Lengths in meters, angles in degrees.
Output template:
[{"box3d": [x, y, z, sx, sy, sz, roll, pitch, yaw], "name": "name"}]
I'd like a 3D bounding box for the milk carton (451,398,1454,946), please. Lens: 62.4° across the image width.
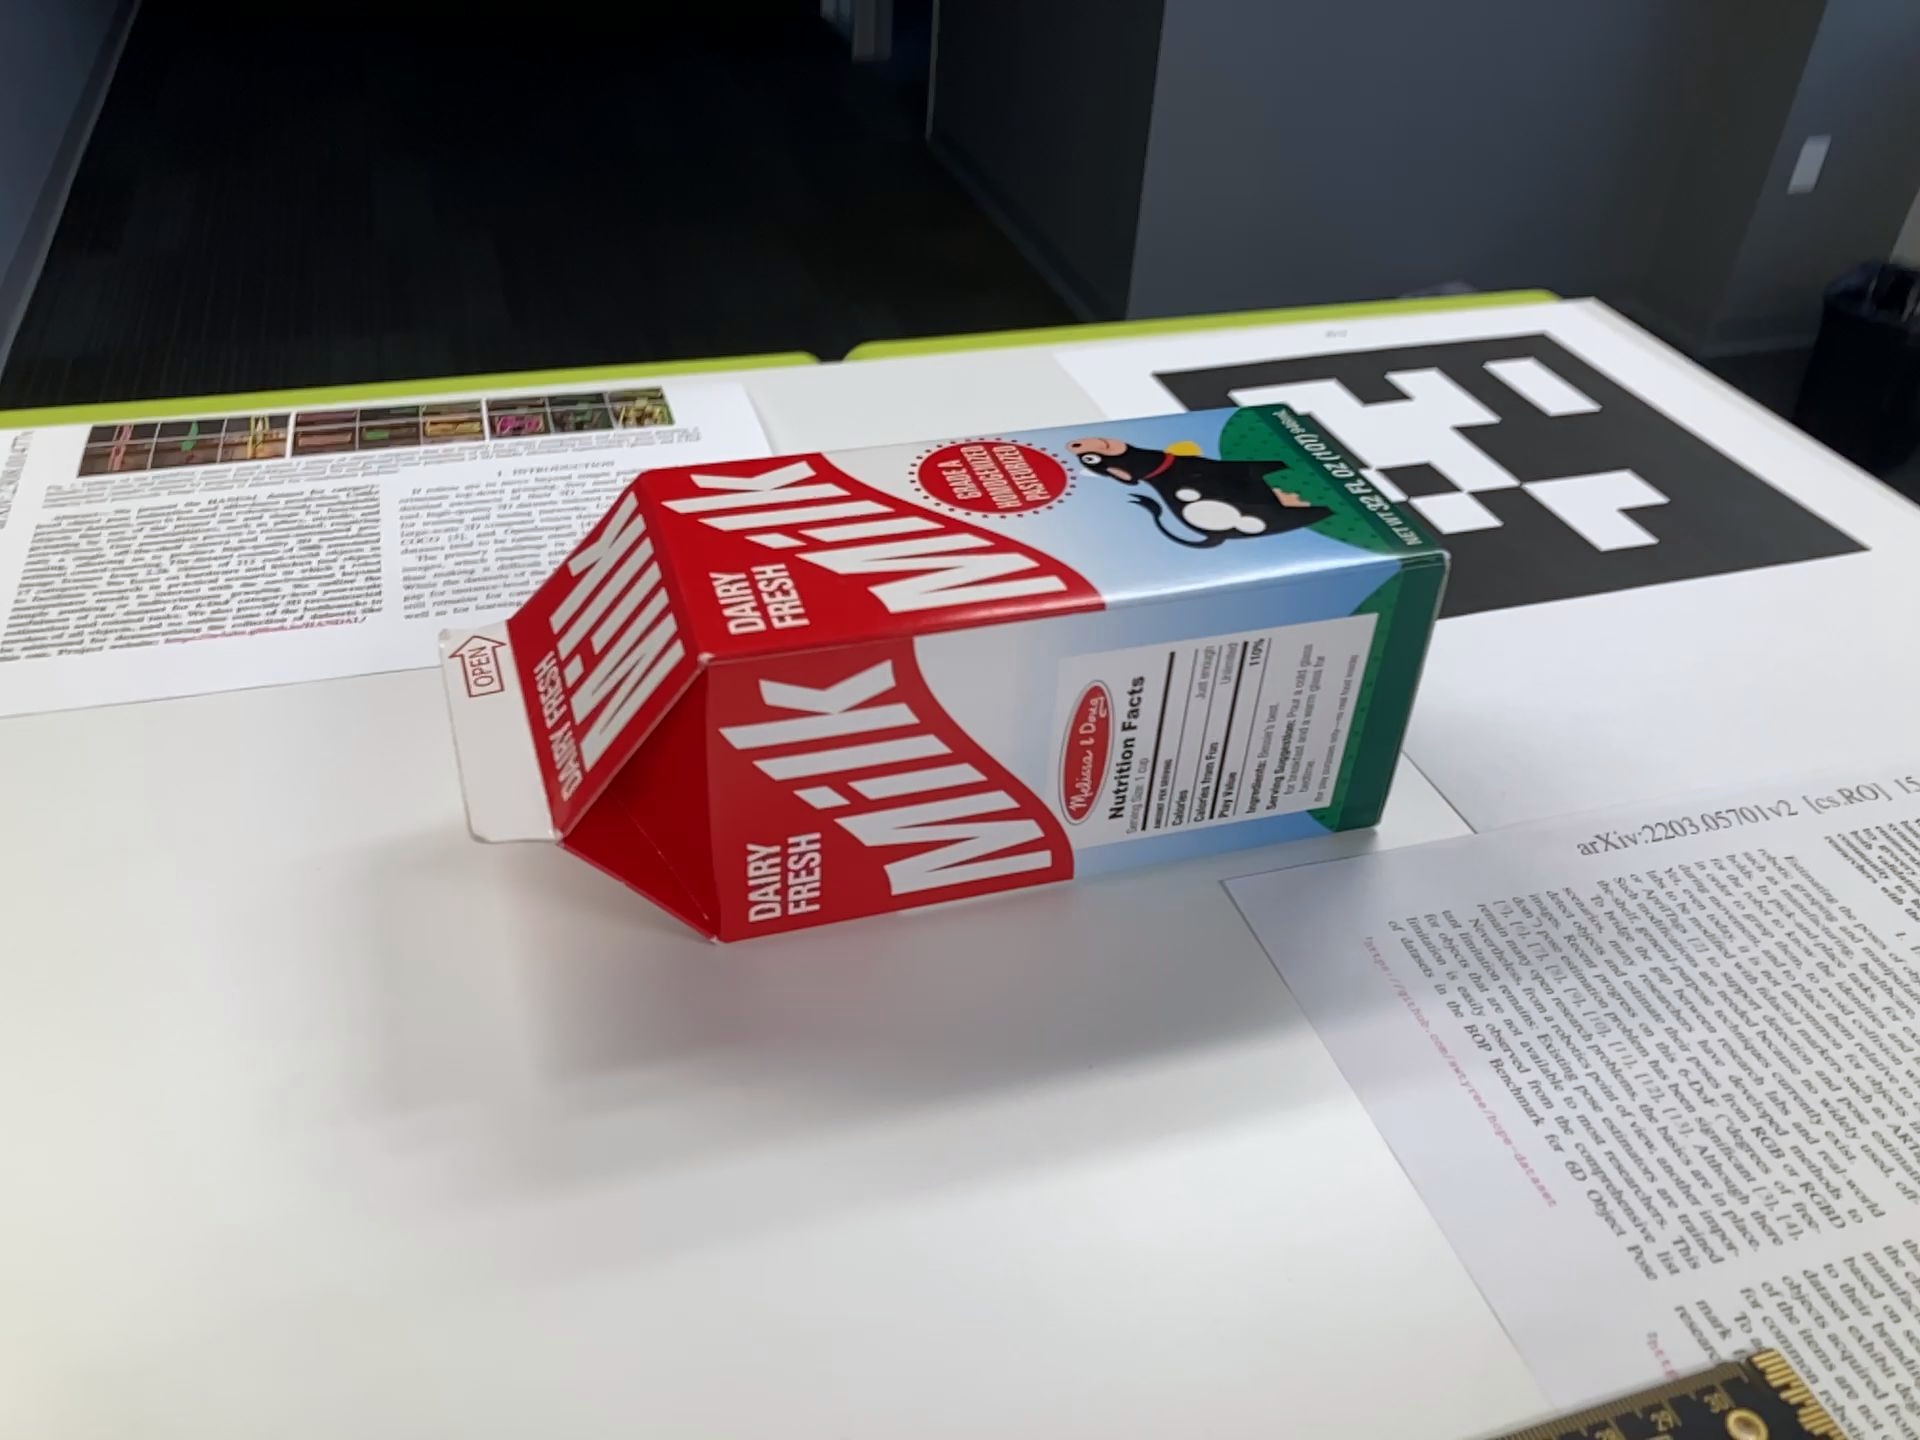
[{"box3d": [-0.005, -0.012, 0.331, 0.190, 0.073, 0.072, -9, 39, -16], "name": "milk carton"}]
